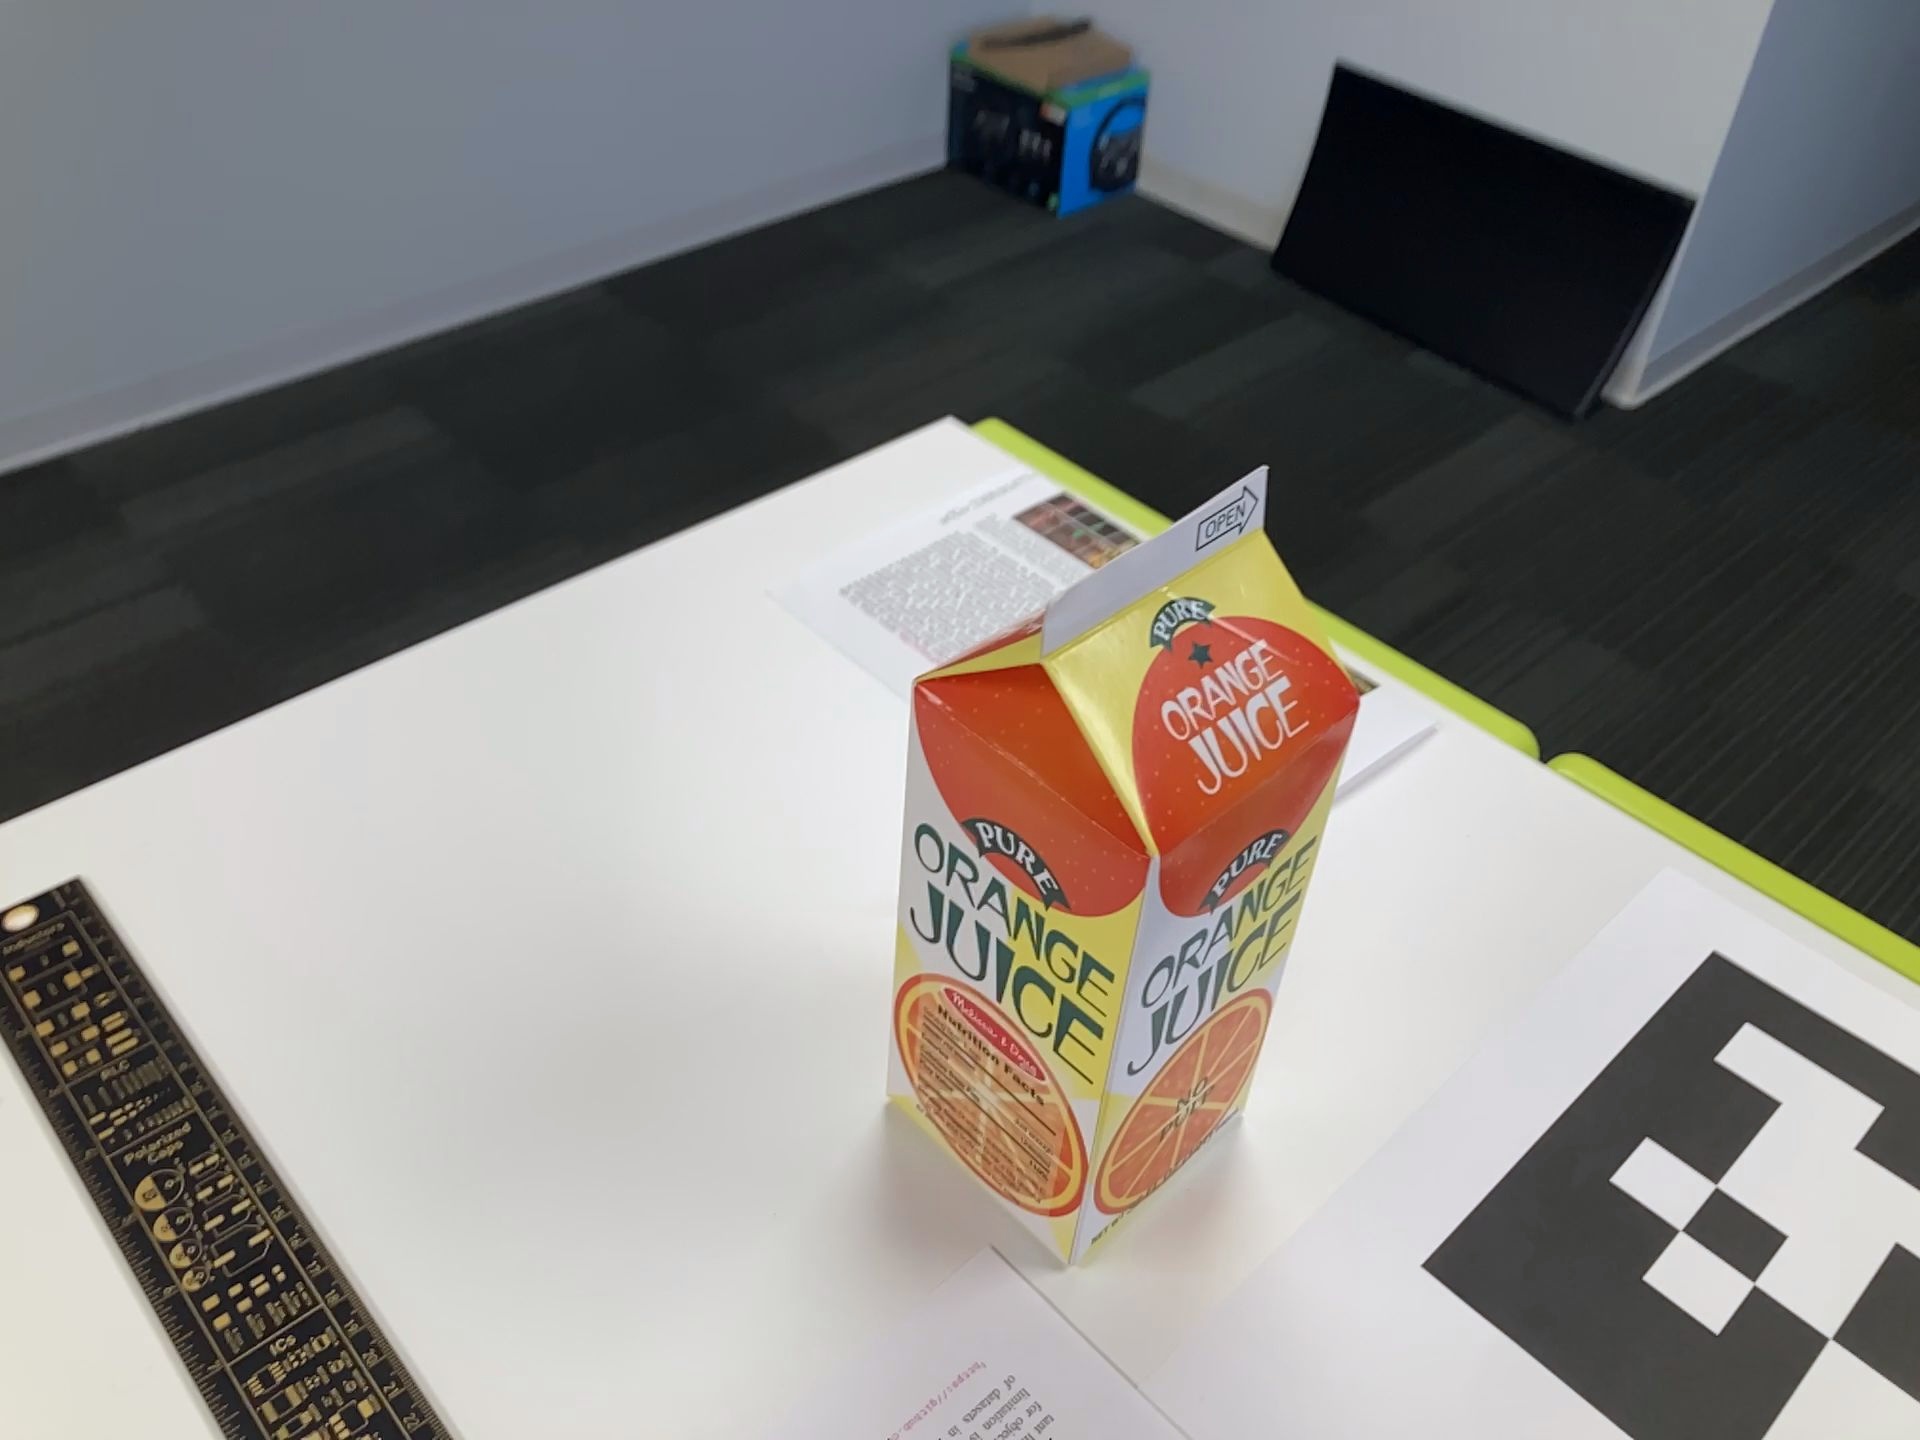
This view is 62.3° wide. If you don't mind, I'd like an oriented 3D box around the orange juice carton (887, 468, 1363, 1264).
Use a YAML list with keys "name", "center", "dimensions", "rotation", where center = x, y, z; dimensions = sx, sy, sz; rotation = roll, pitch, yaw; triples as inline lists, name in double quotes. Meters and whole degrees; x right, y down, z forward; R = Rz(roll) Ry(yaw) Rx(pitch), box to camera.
- name: "orange juice carton"
  center: [0.035, 0.035, 0.377]
  dimensions: [0.072, 0.192, 0.073]
  rotation: [-30, 52, -34]
